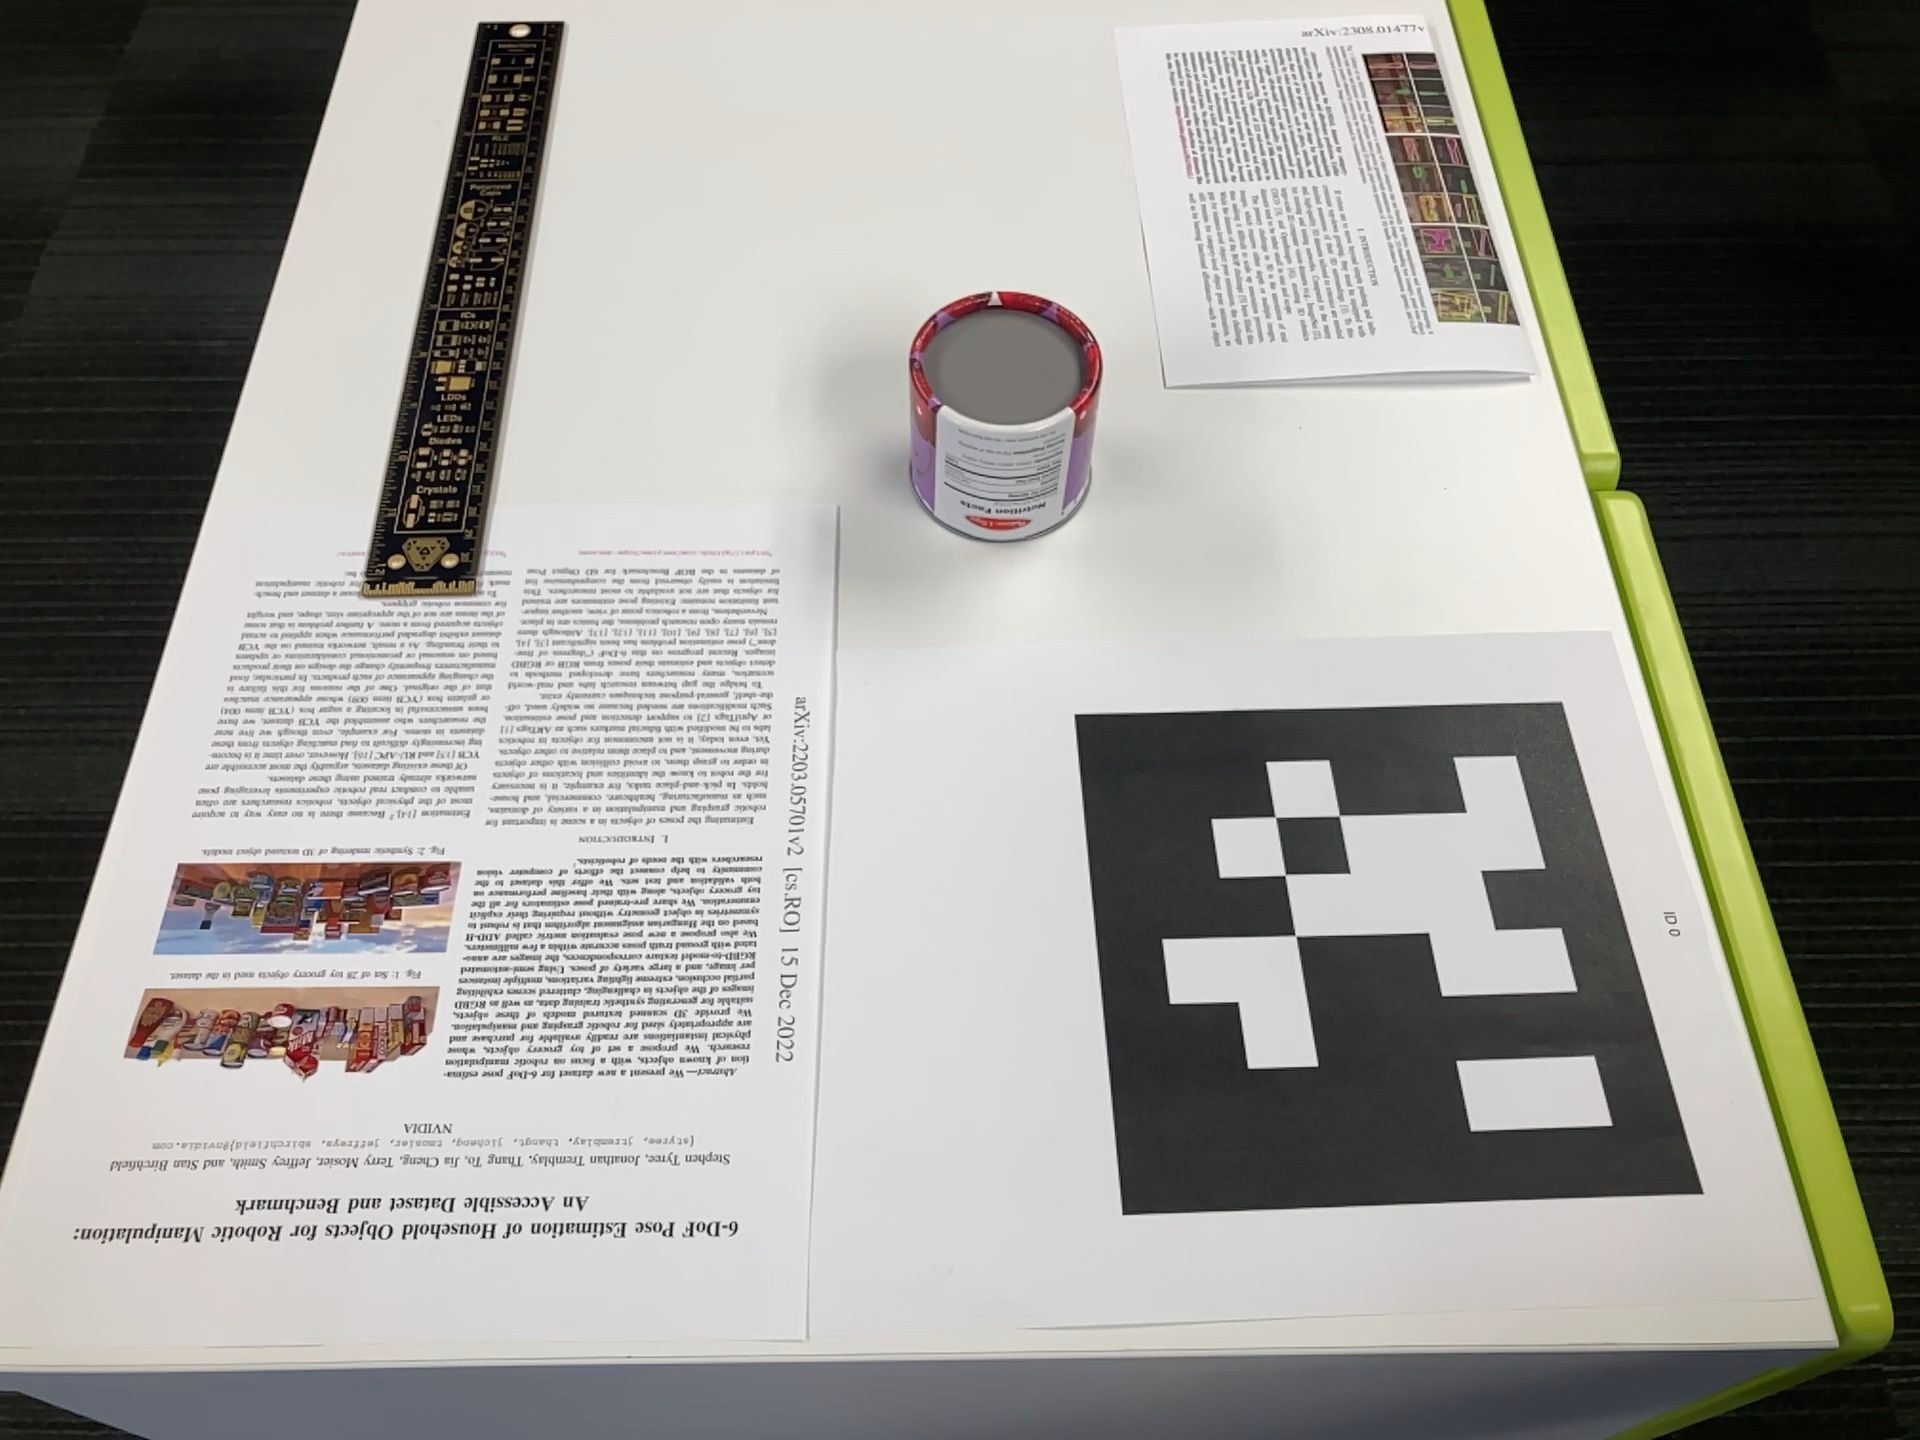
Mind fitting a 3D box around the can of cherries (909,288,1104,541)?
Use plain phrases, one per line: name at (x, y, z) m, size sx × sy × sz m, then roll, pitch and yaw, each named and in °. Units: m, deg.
can of cherries at (0.015, -0.108, 0.551) m, size 0.071 × 0.058 × 0.071 m, roll 0°, pitch 58°, yaw 0°
